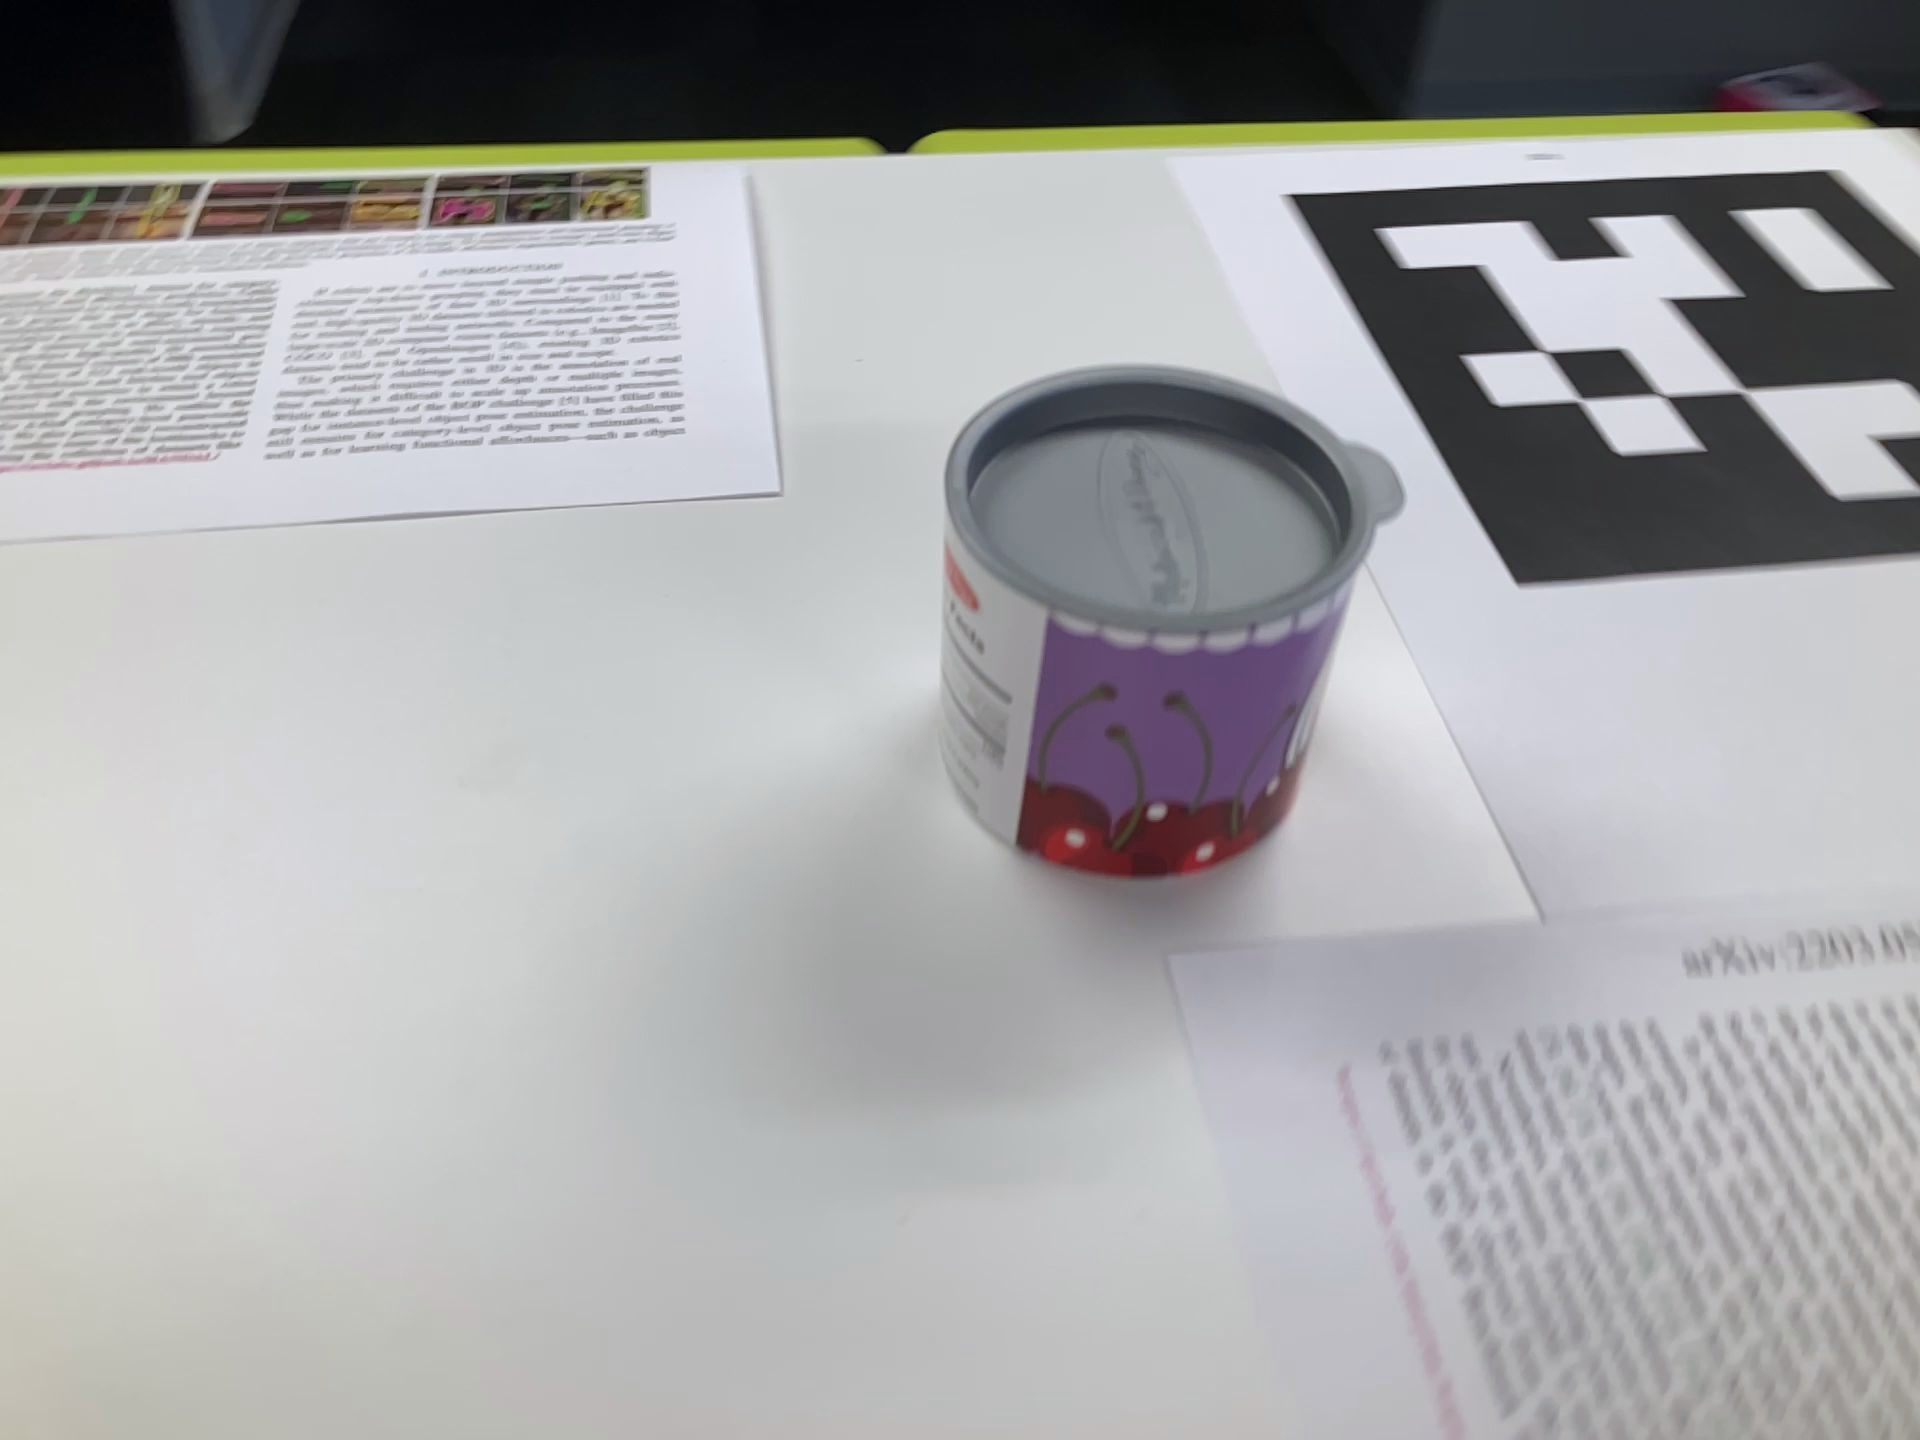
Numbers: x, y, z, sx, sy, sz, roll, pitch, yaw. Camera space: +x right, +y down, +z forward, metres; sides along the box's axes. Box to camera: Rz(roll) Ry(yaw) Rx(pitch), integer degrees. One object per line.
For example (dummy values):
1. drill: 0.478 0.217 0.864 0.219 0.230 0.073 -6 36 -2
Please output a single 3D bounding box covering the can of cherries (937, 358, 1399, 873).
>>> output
1. can of cherries: 0.032 -0.017 0.263 0.071 0.058 0.071 1 45 -1
